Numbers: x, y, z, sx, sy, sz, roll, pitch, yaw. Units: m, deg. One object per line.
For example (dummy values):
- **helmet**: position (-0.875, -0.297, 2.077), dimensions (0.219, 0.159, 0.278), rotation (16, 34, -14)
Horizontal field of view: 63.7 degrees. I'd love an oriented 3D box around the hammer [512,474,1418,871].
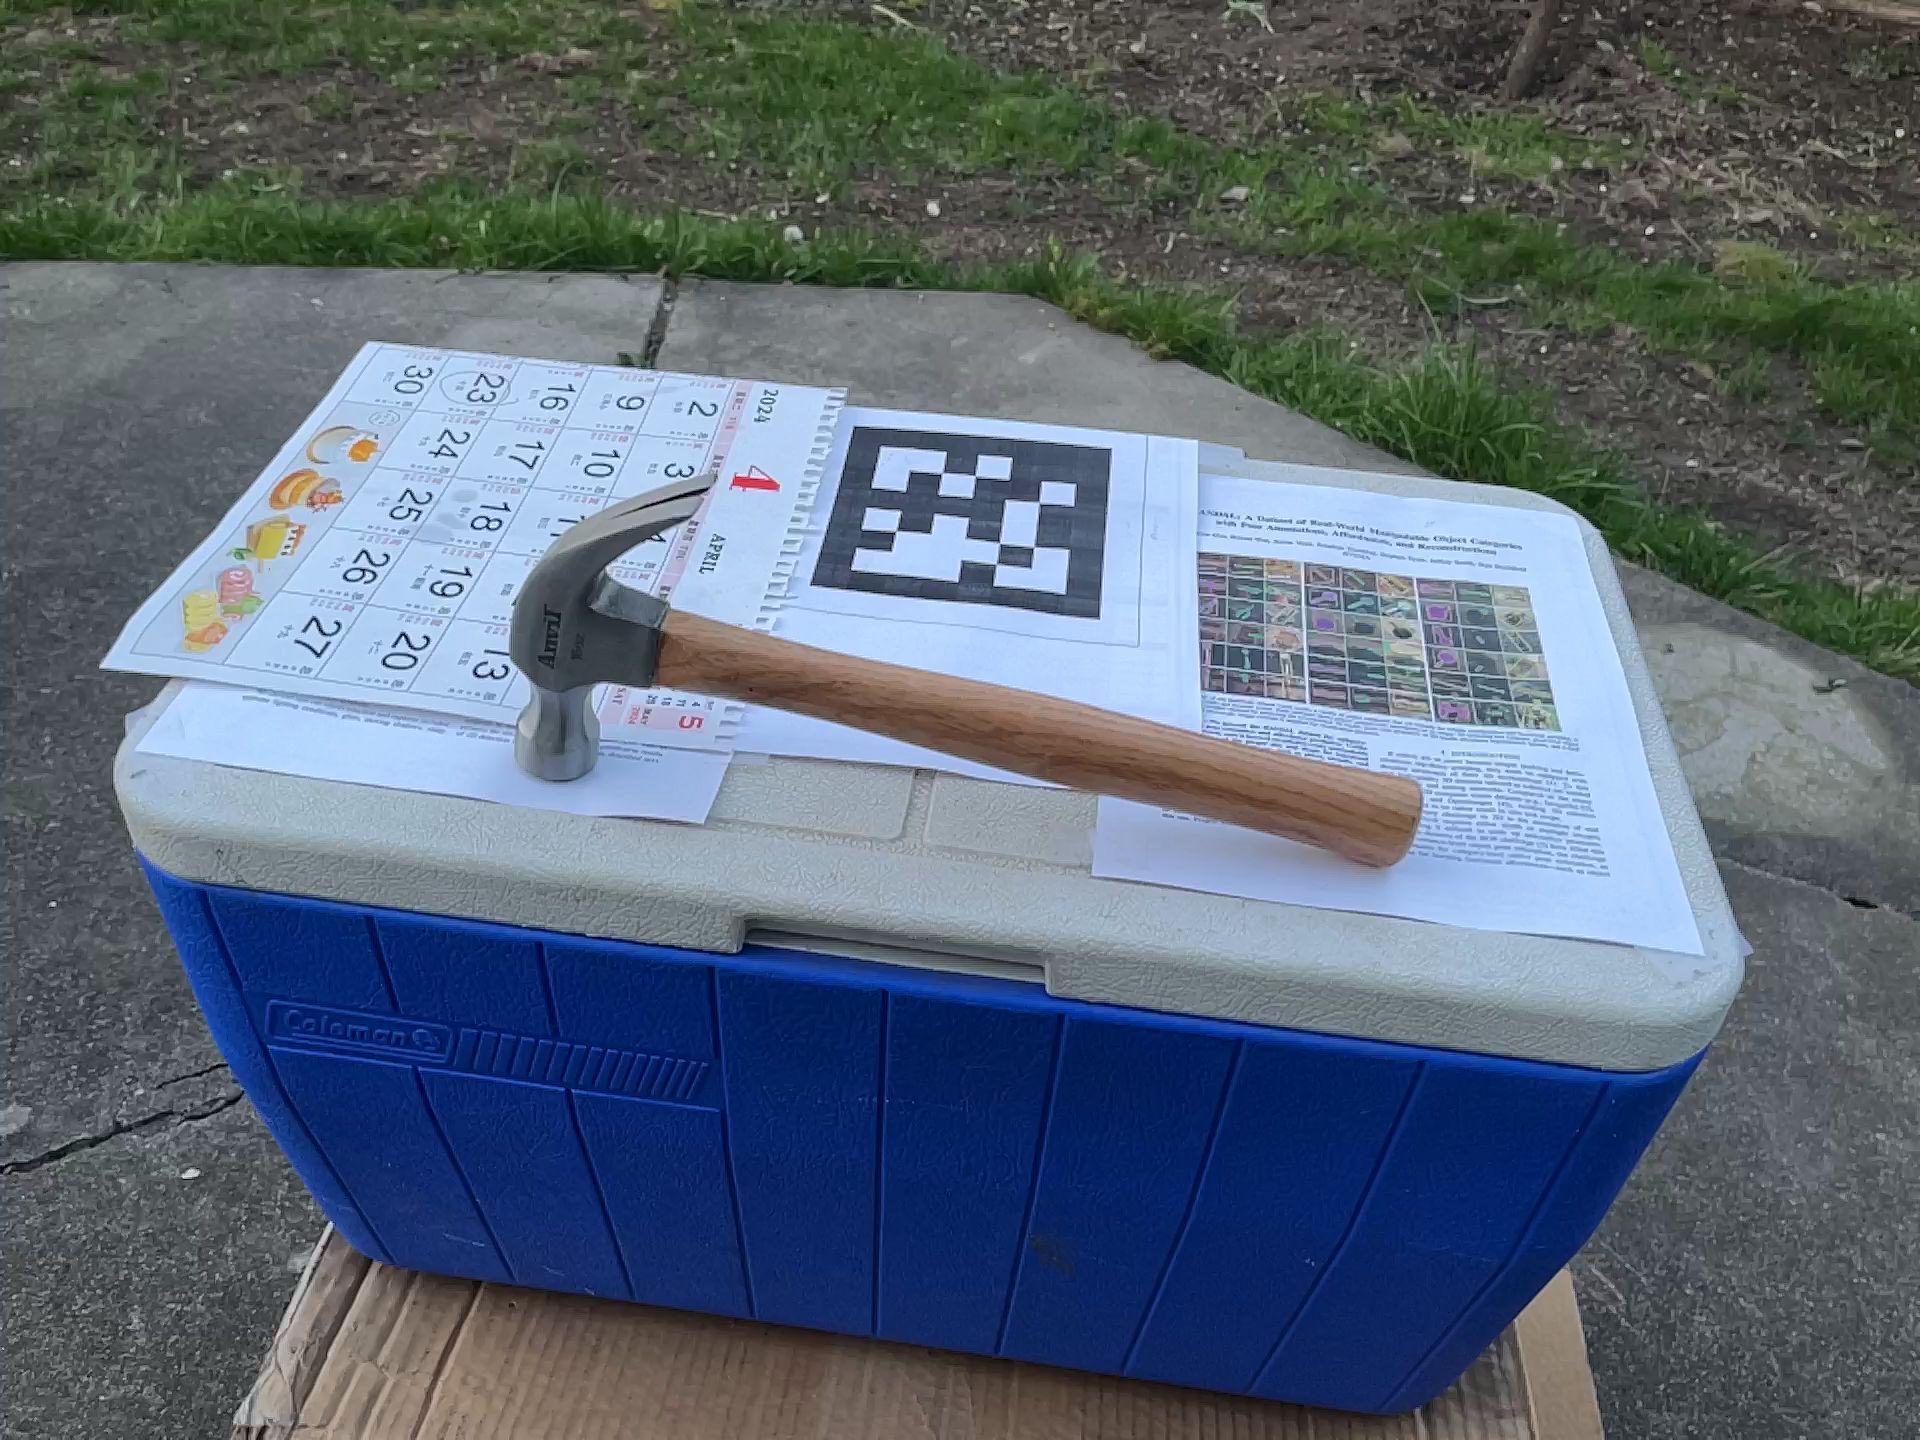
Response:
- **hammer**: position (0.004, -0.001, 0.561), dimensions (0.331, 0.130, 0.031), rotation (14, 36, -3)
